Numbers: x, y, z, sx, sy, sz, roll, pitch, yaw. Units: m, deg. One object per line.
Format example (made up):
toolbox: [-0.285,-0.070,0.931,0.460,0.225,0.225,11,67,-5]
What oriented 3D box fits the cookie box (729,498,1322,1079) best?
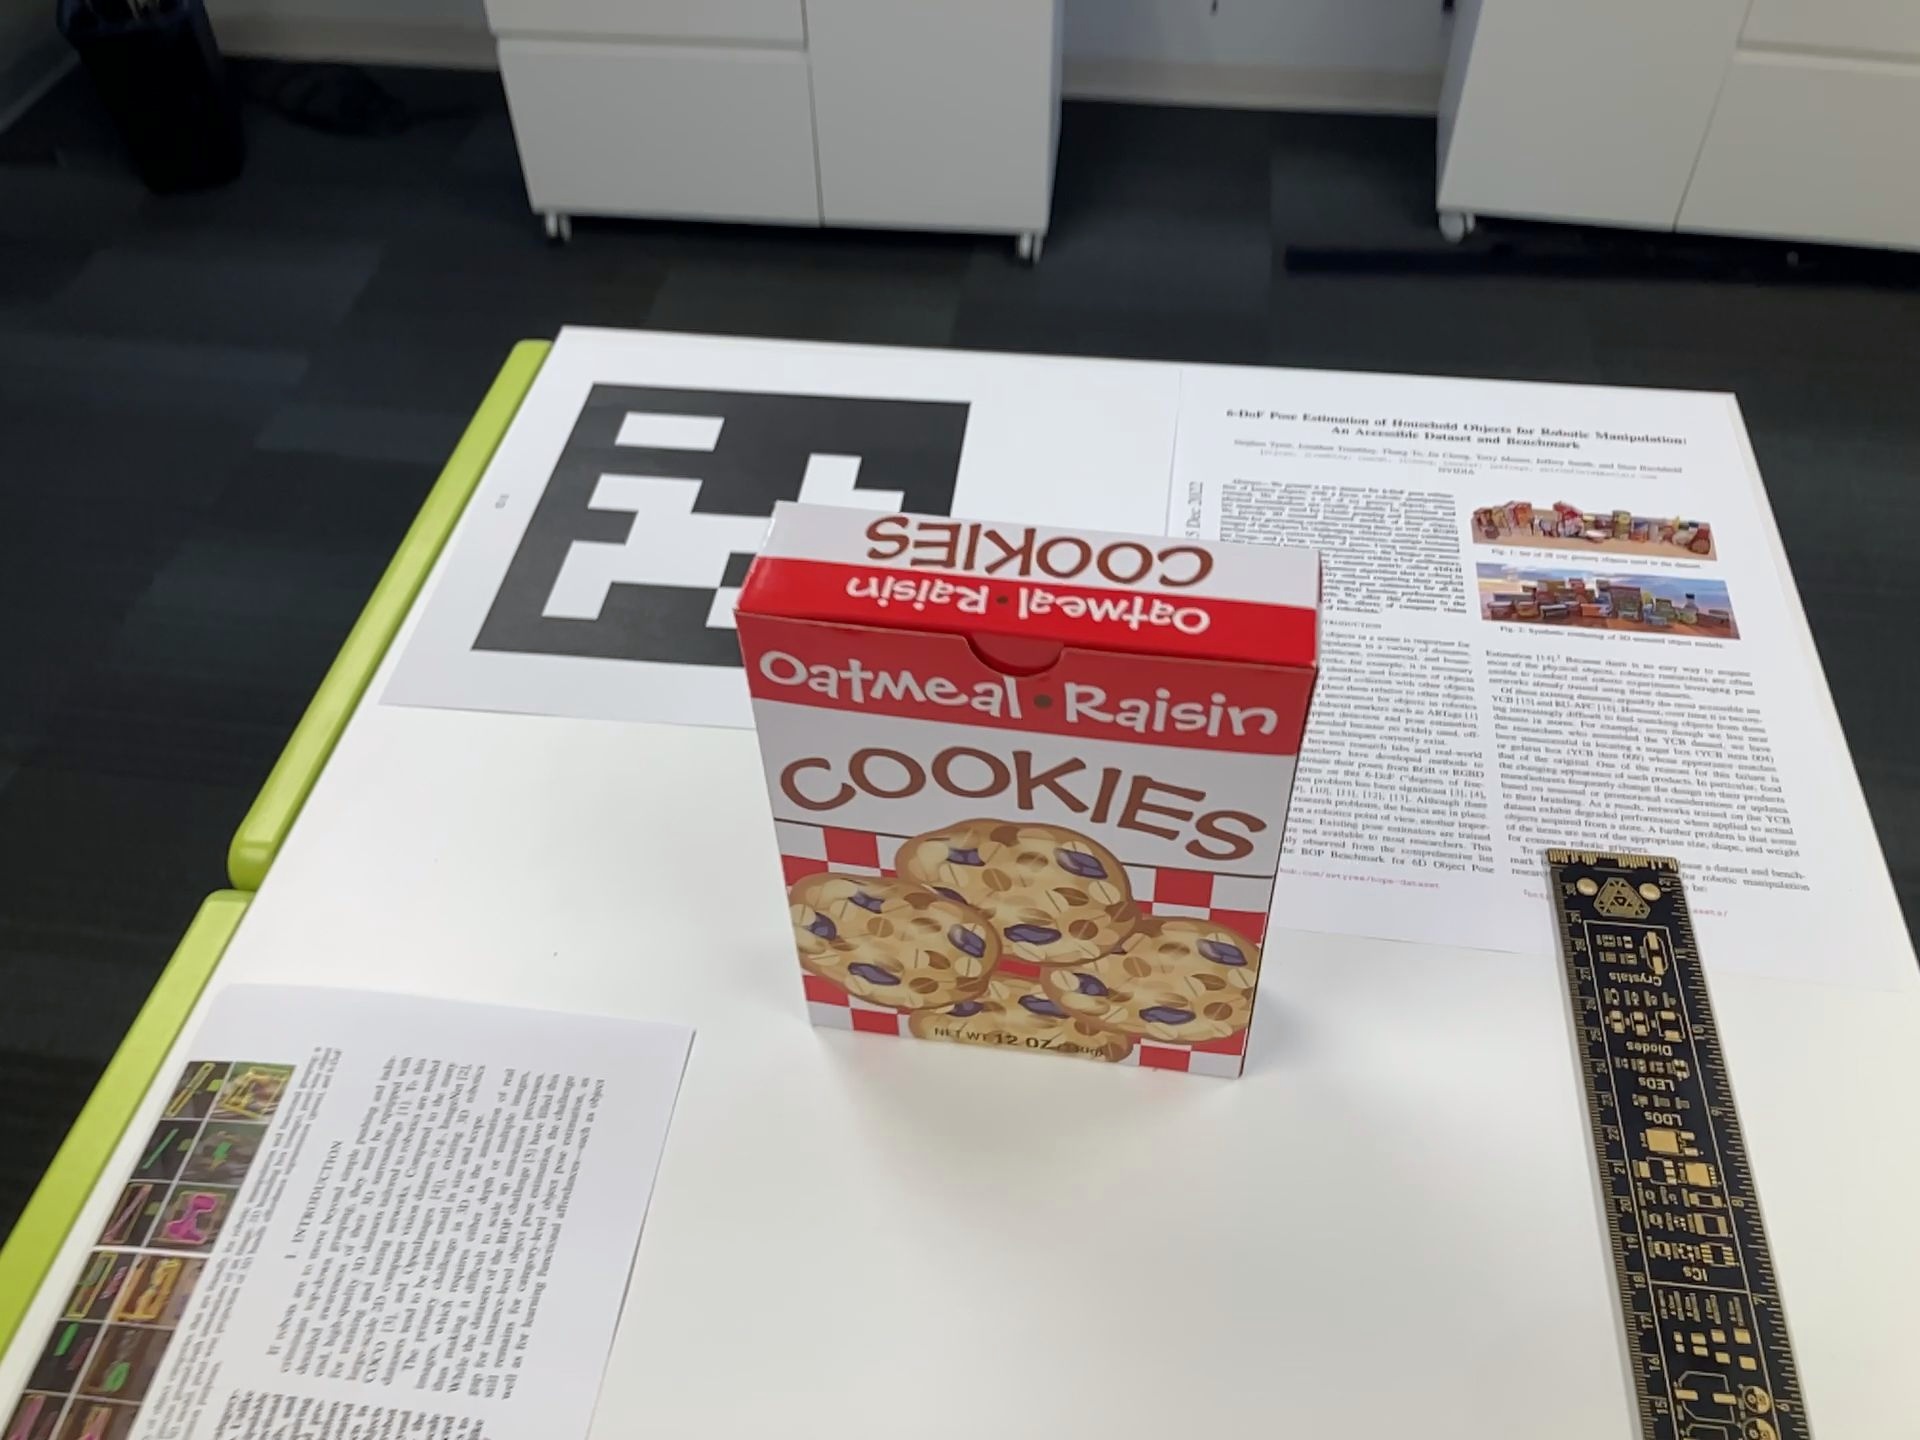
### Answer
cookie box: [0.017,0.025,0.394,0.123,0.167,0.040,6,48,8]
